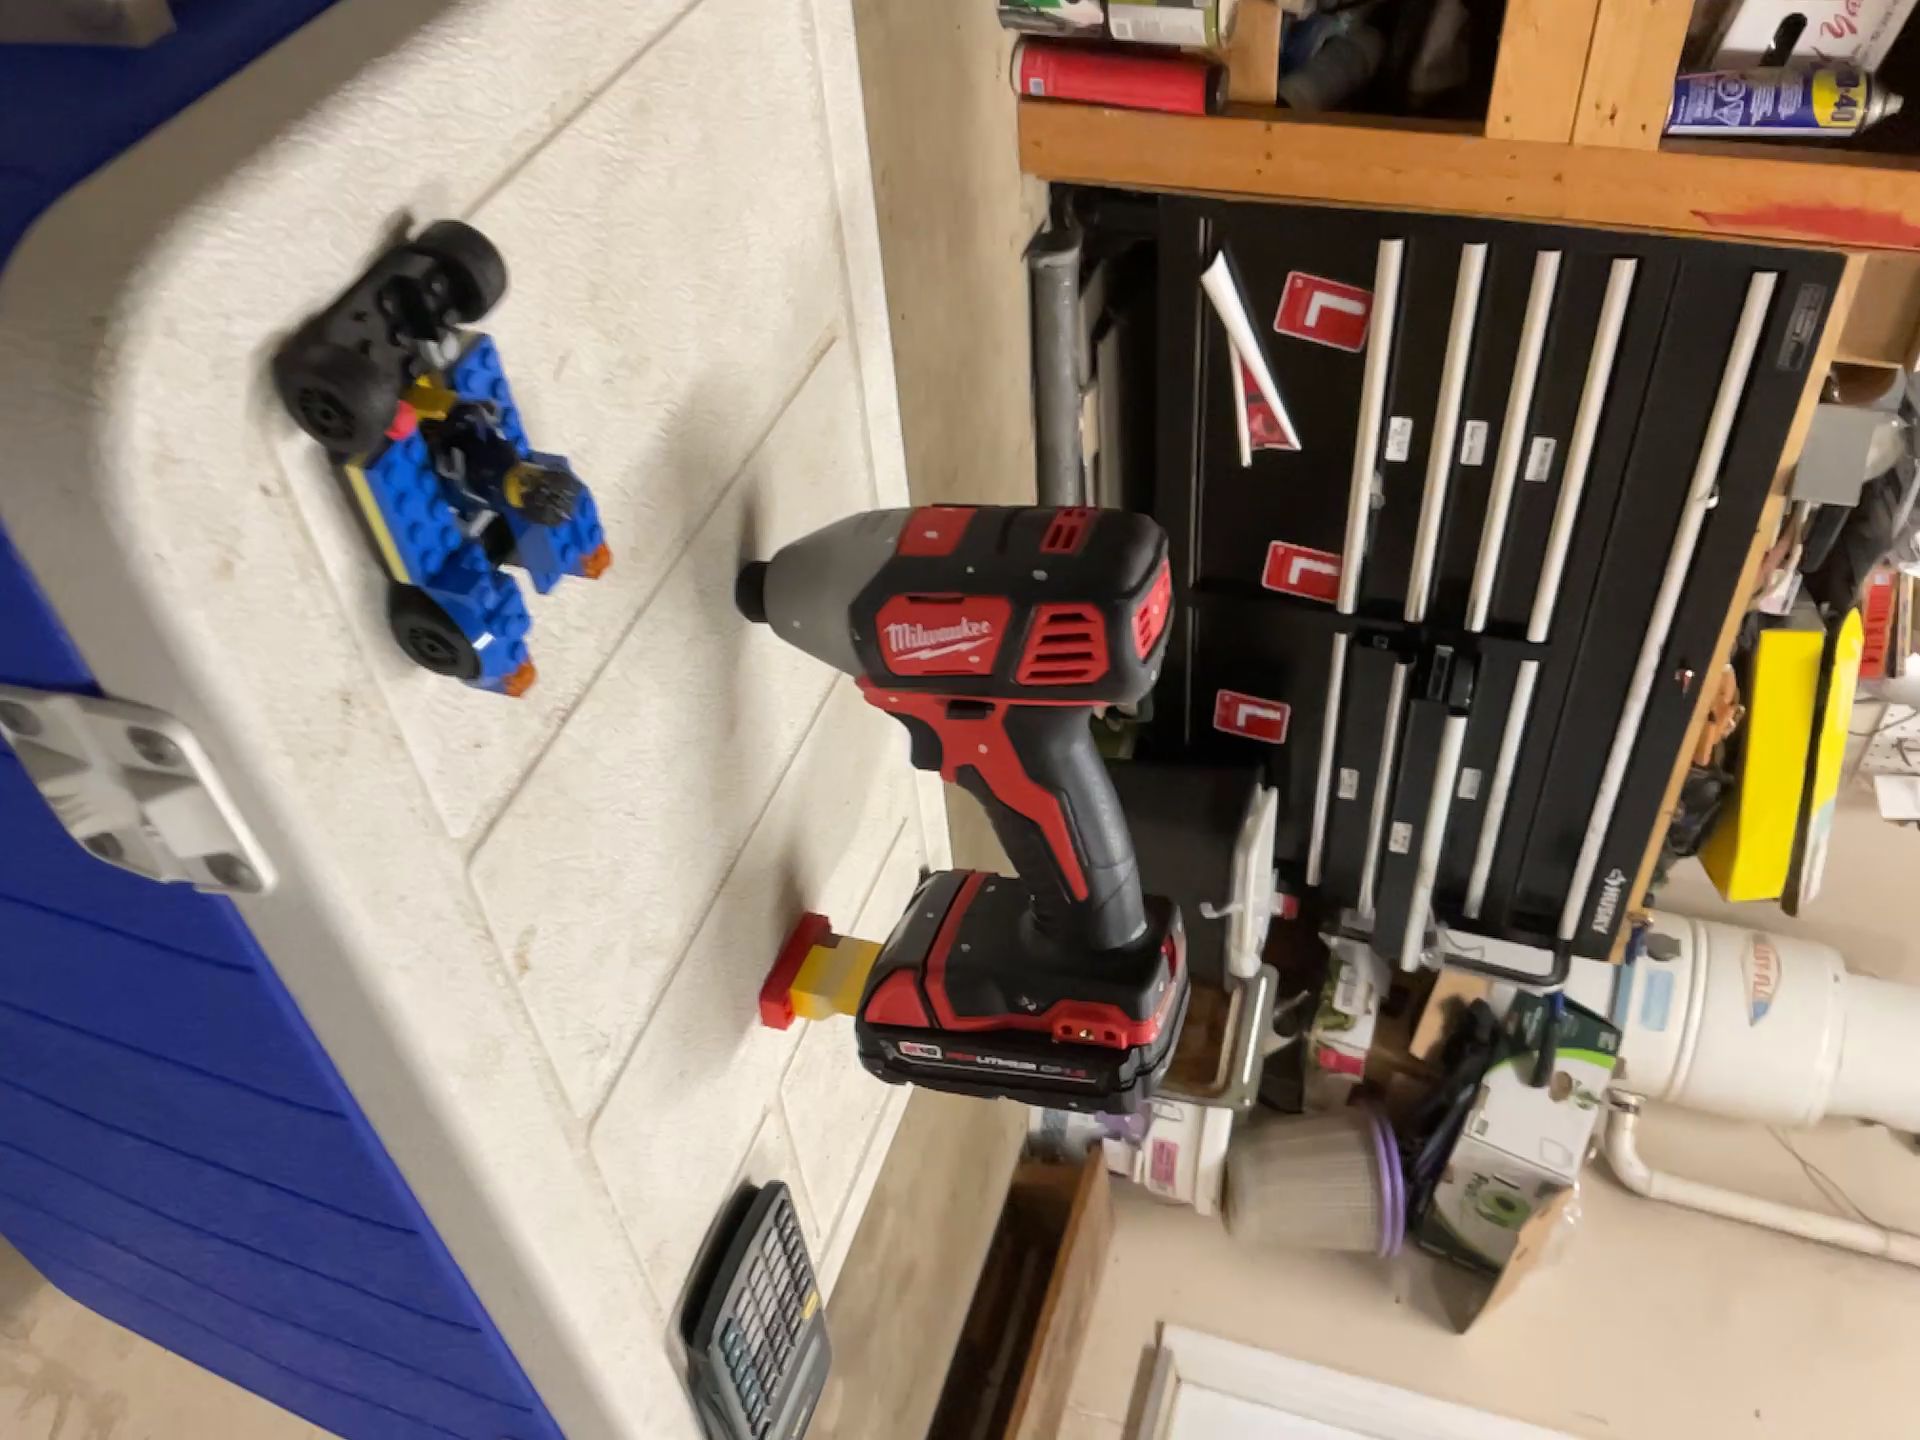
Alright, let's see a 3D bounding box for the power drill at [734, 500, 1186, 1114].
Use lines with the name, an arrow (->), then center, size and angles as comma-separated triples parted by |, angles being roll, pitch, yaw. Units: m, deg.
power drill -> 0.005, 0.027, 0.551 | 0.079, 0.143, 0.219 | -61, 149, -51
